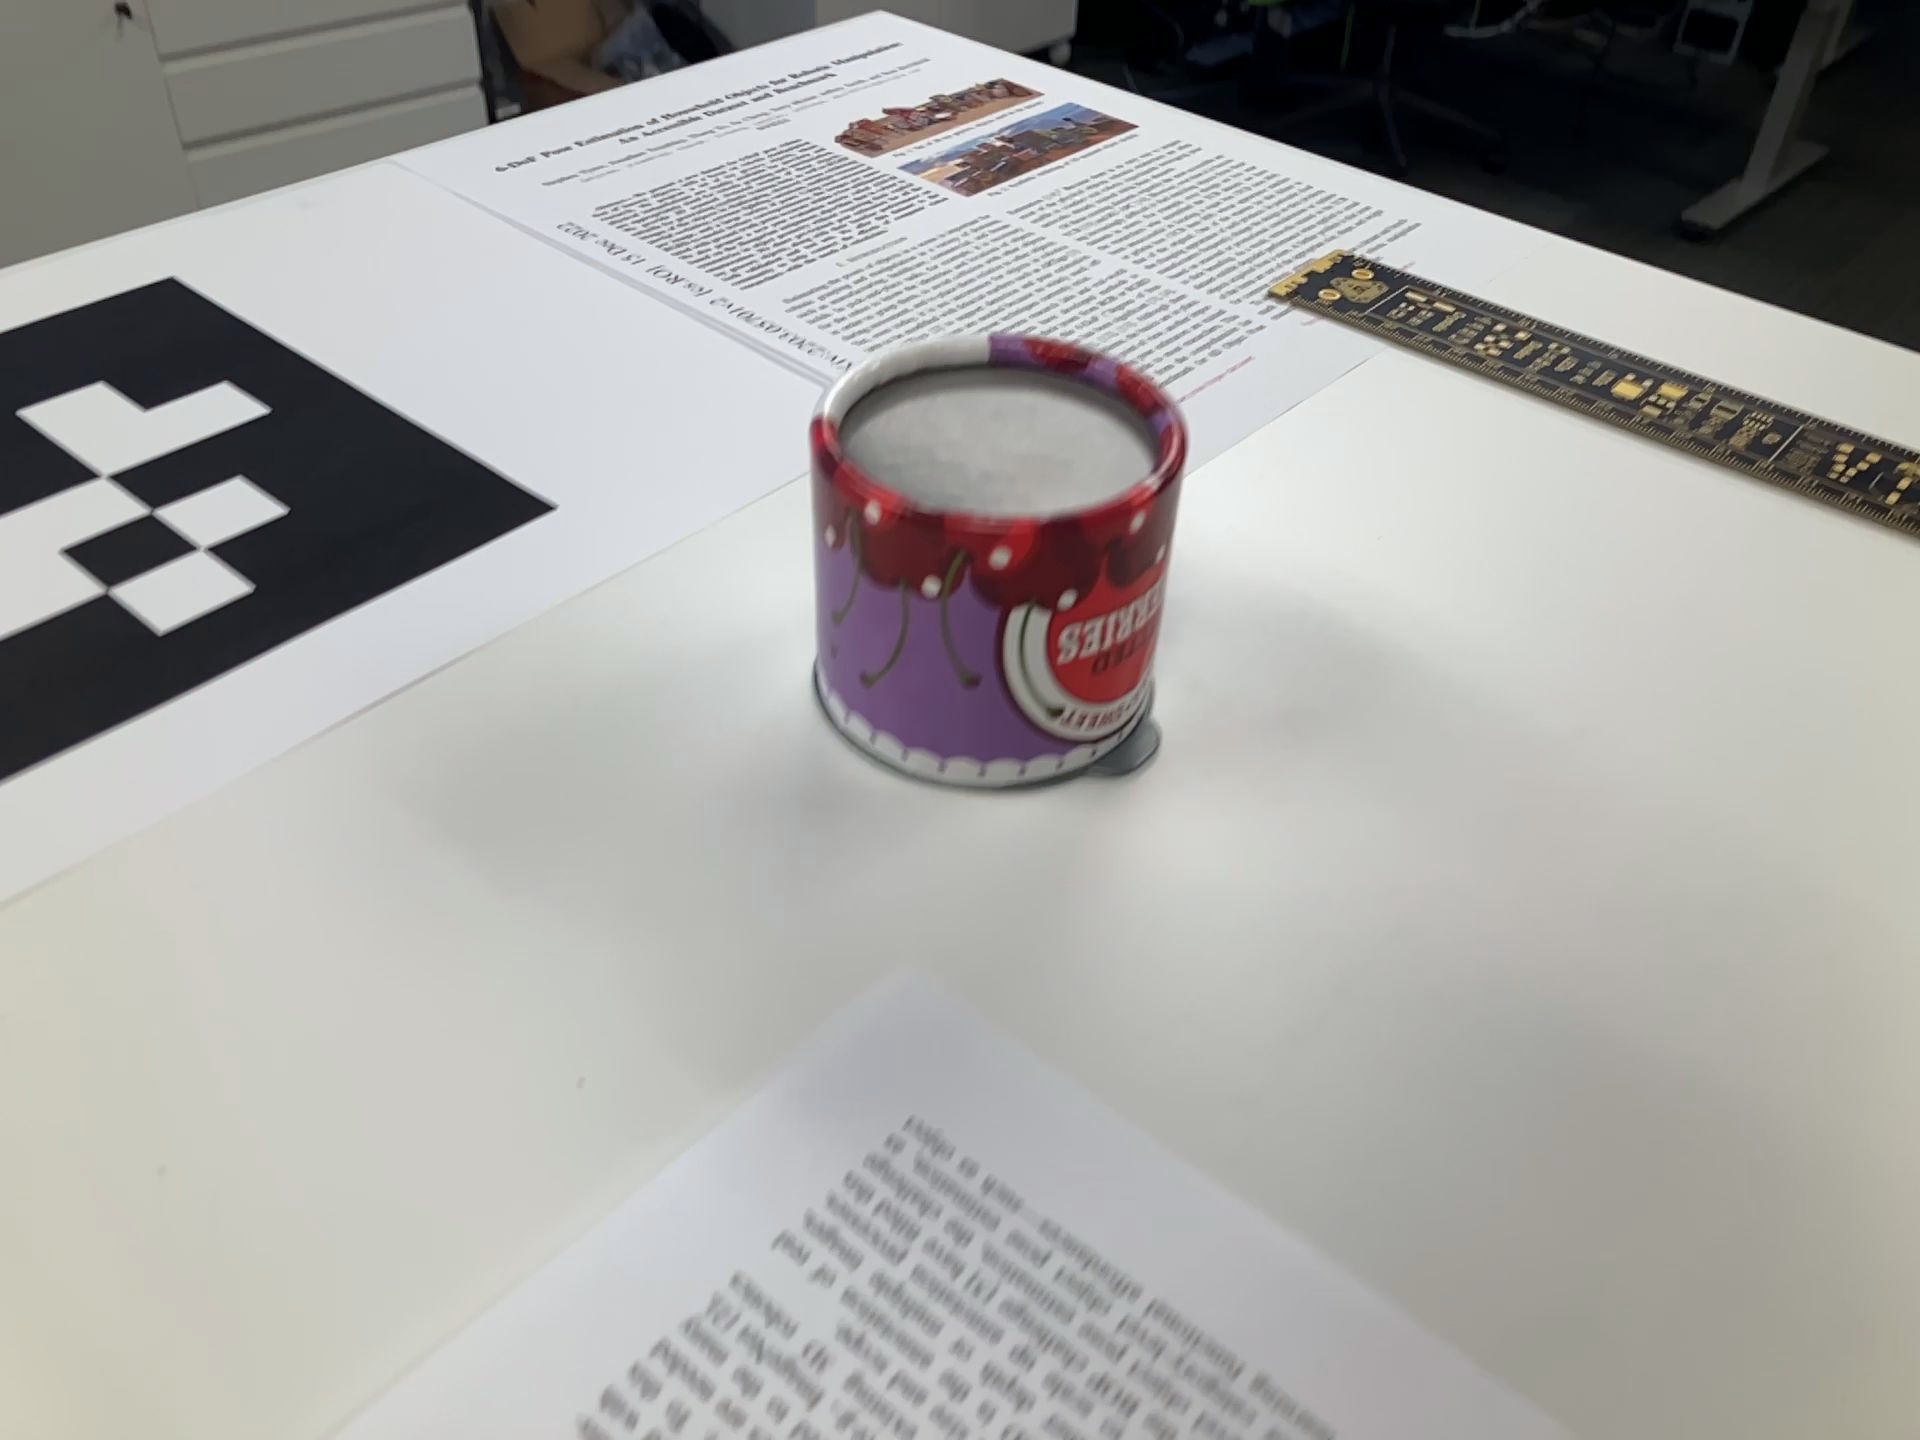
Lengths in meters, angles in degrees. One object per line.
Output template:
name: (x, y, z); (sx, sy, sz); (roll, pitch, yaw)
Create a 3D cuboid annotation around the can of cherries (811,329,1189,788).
can of cherries: (0.008, -0.030, 0.288); (0.071, 0.058, 0.071); (2, 40, -2)
